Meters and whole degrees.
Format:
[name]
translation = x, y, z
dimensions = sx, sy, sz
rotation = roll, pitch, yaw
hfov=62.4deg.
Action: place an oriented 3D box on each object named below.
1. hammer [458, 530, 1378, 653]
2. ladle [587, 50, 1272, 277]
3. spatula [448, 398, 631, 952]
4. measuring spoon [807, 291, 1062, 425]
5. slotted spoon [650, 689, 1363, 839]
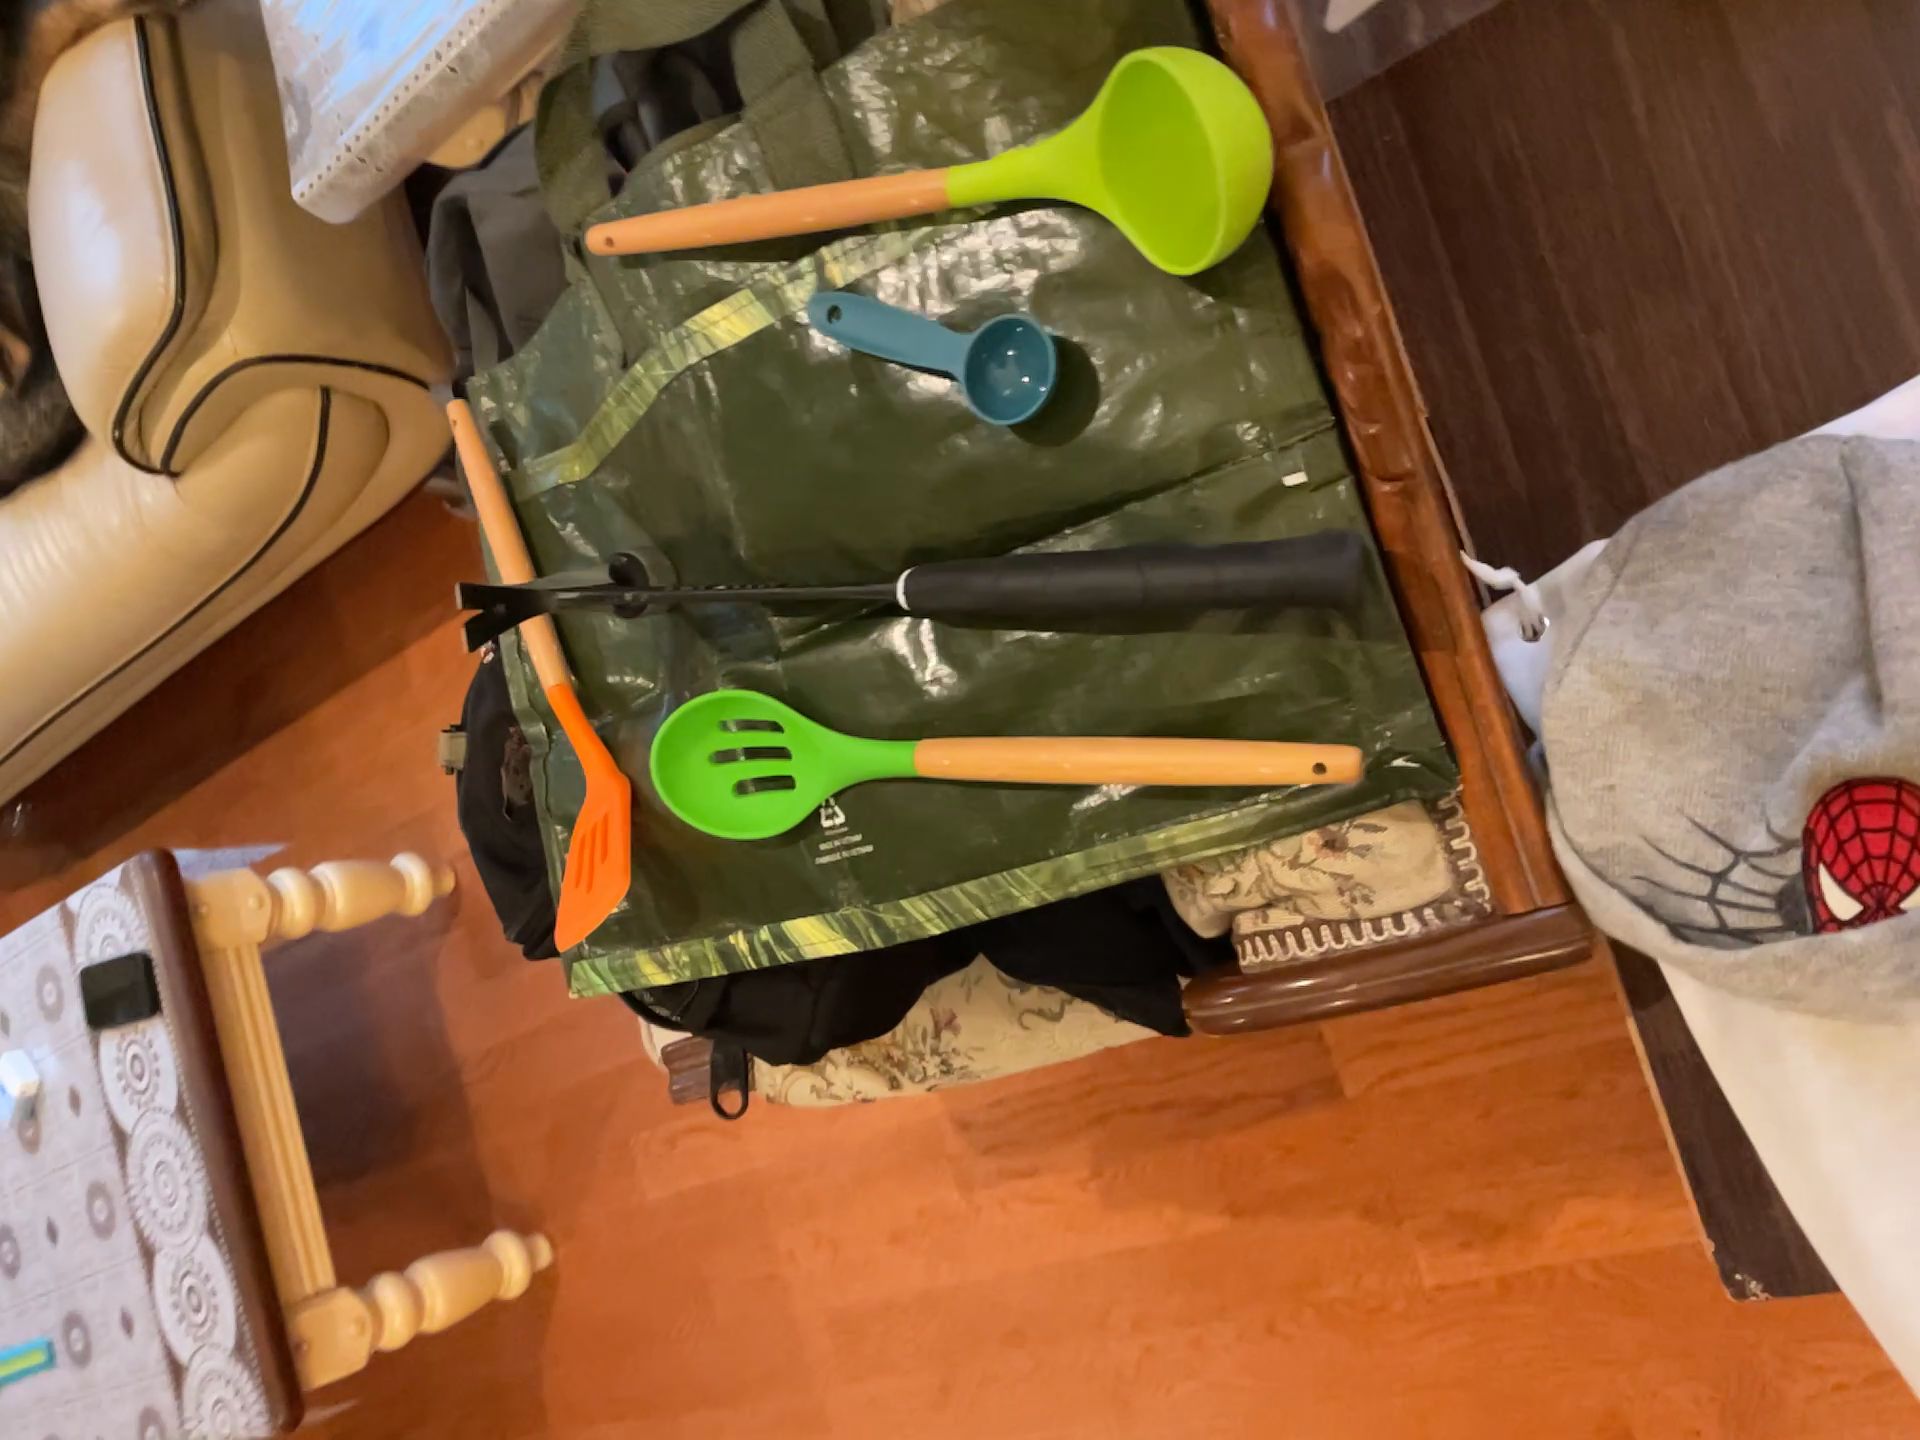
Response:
[hammer]
translation = -0.029, -0.056, 0.661
dimensions = 0.409, 0.149, 0.036
rotation = 1, 102, 29
[ladle]
translation = -0.031, -0.204, 0.629
dimensions = 0.320, 0.062, 0.078
rotation = 2, 120, 29
[spatula]
translation = -0.230, -0.038, 0.849
dimensions = 0.081, 0.041, 0.323
rotation = -38, 68, 40
[measuring spoon]
translation = -0.010, -0.152, 0.641
dimensions = 0.129, 0.021, 0.042
rotation = 26, 105, 31
[slotted spoon]
translation = 0.008, 0.018, 0.655
dimensions = 0.314, 0.031, 0.070
rotation = -1, 107, 27
